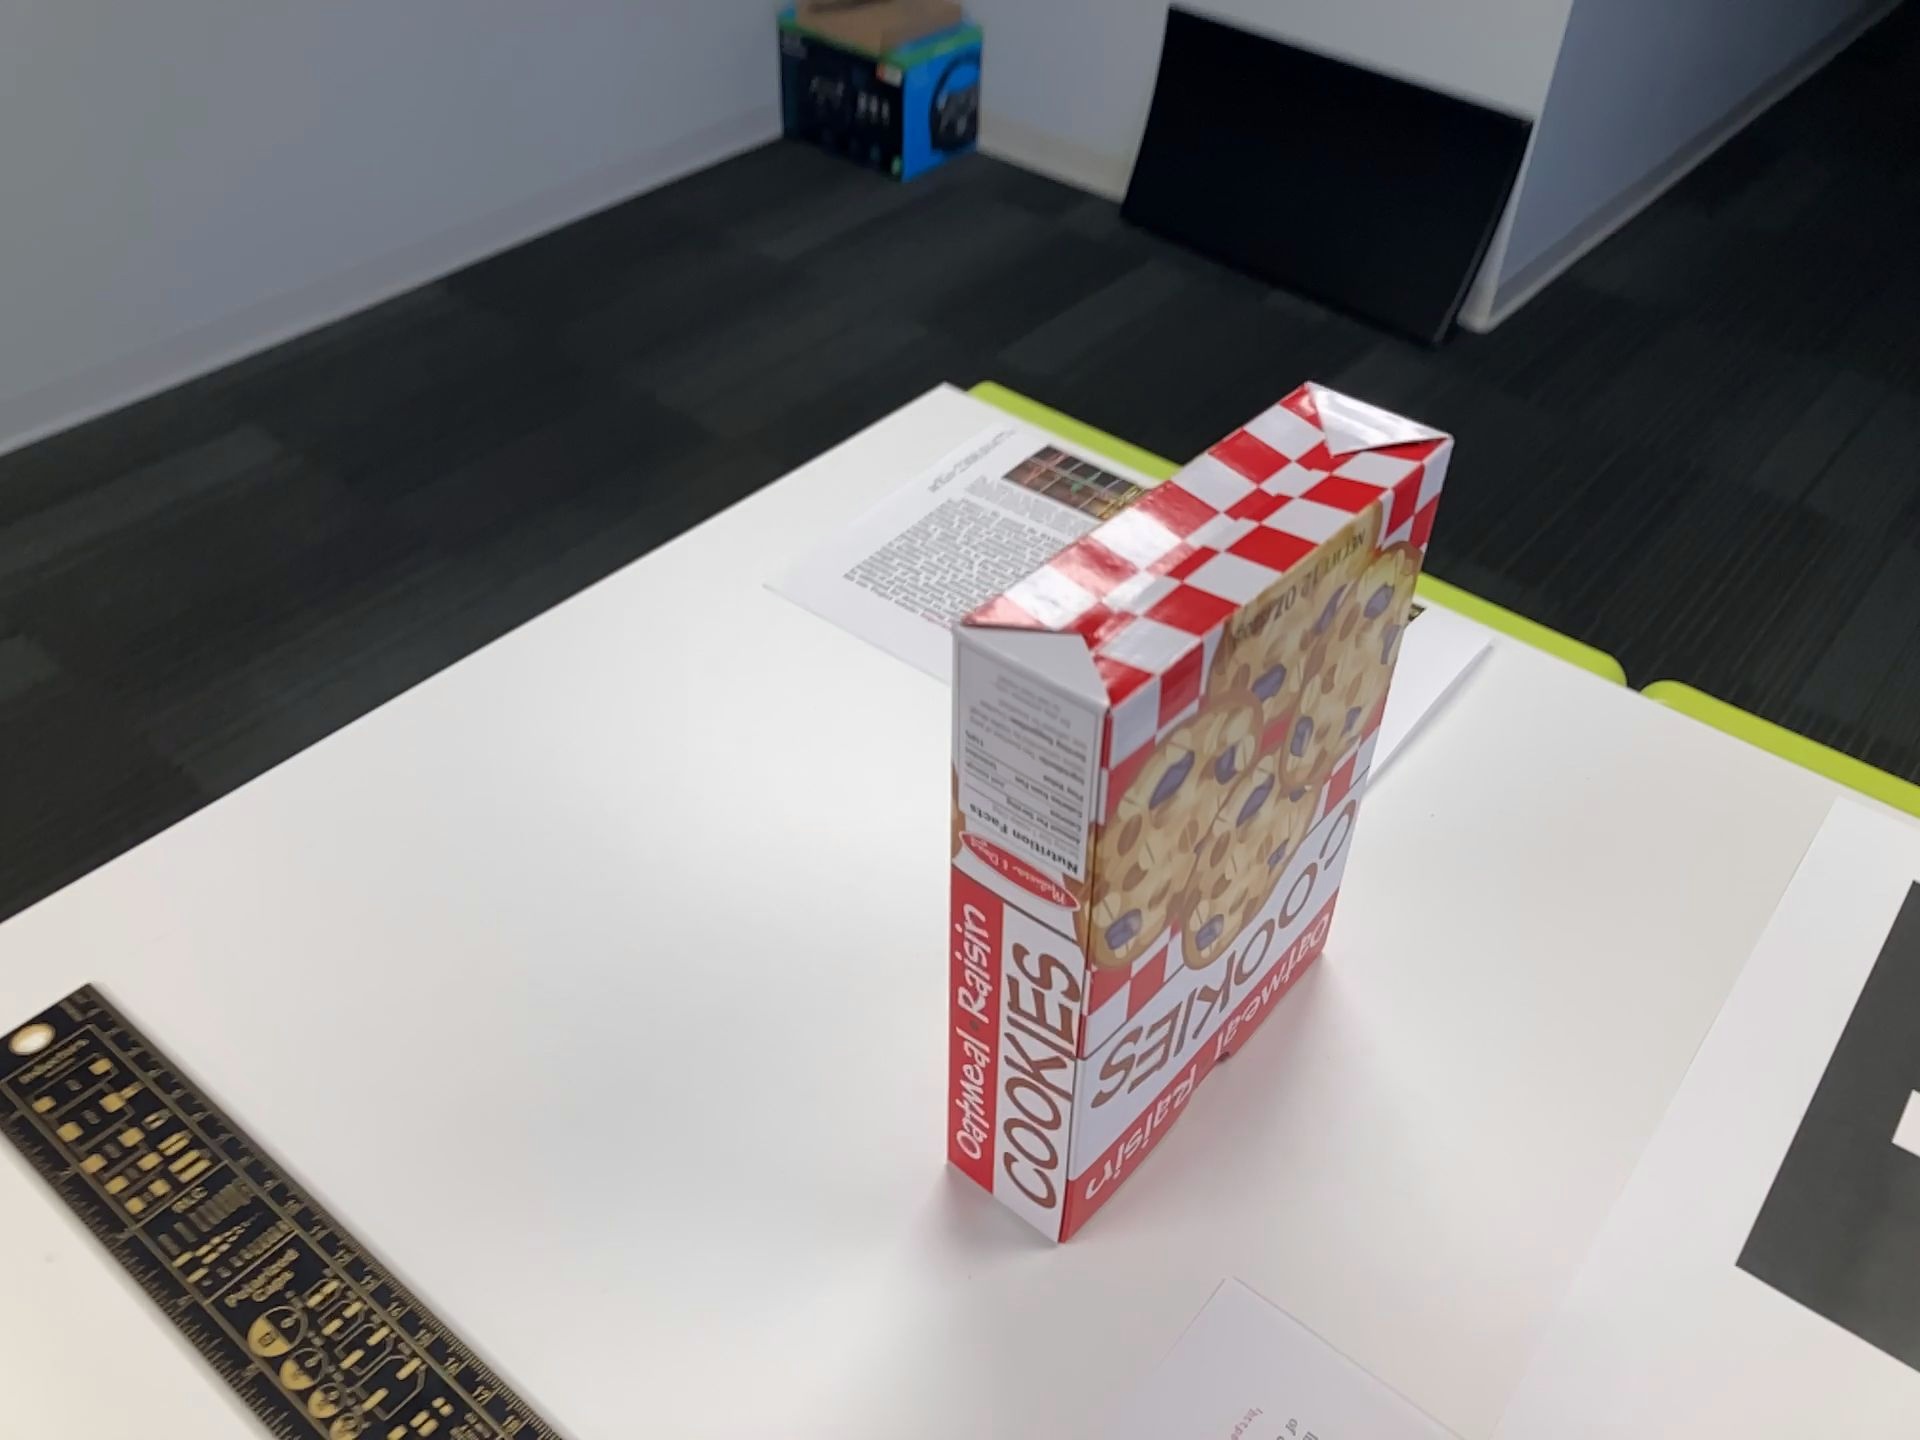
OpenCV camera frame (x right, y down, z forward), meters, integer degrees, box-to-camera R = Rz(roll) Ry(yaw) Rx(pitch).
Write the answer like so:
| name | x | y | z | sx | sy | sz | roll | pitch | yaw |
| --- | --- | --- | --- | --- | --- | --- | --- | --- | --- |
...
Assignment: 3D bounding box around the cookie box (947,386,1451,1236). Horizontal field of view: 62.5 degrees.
| name | x | y | z | sx | sy | sz | roll | pitch | yaw |
| --- | --- | --- | --- | --- | --- | --- | --- | --- | --- |
| cookie box | 0.052 | 0.025 | 0.367 | 0.040 | 0.167 | 0.123 | 30 | 48 | 29 |
